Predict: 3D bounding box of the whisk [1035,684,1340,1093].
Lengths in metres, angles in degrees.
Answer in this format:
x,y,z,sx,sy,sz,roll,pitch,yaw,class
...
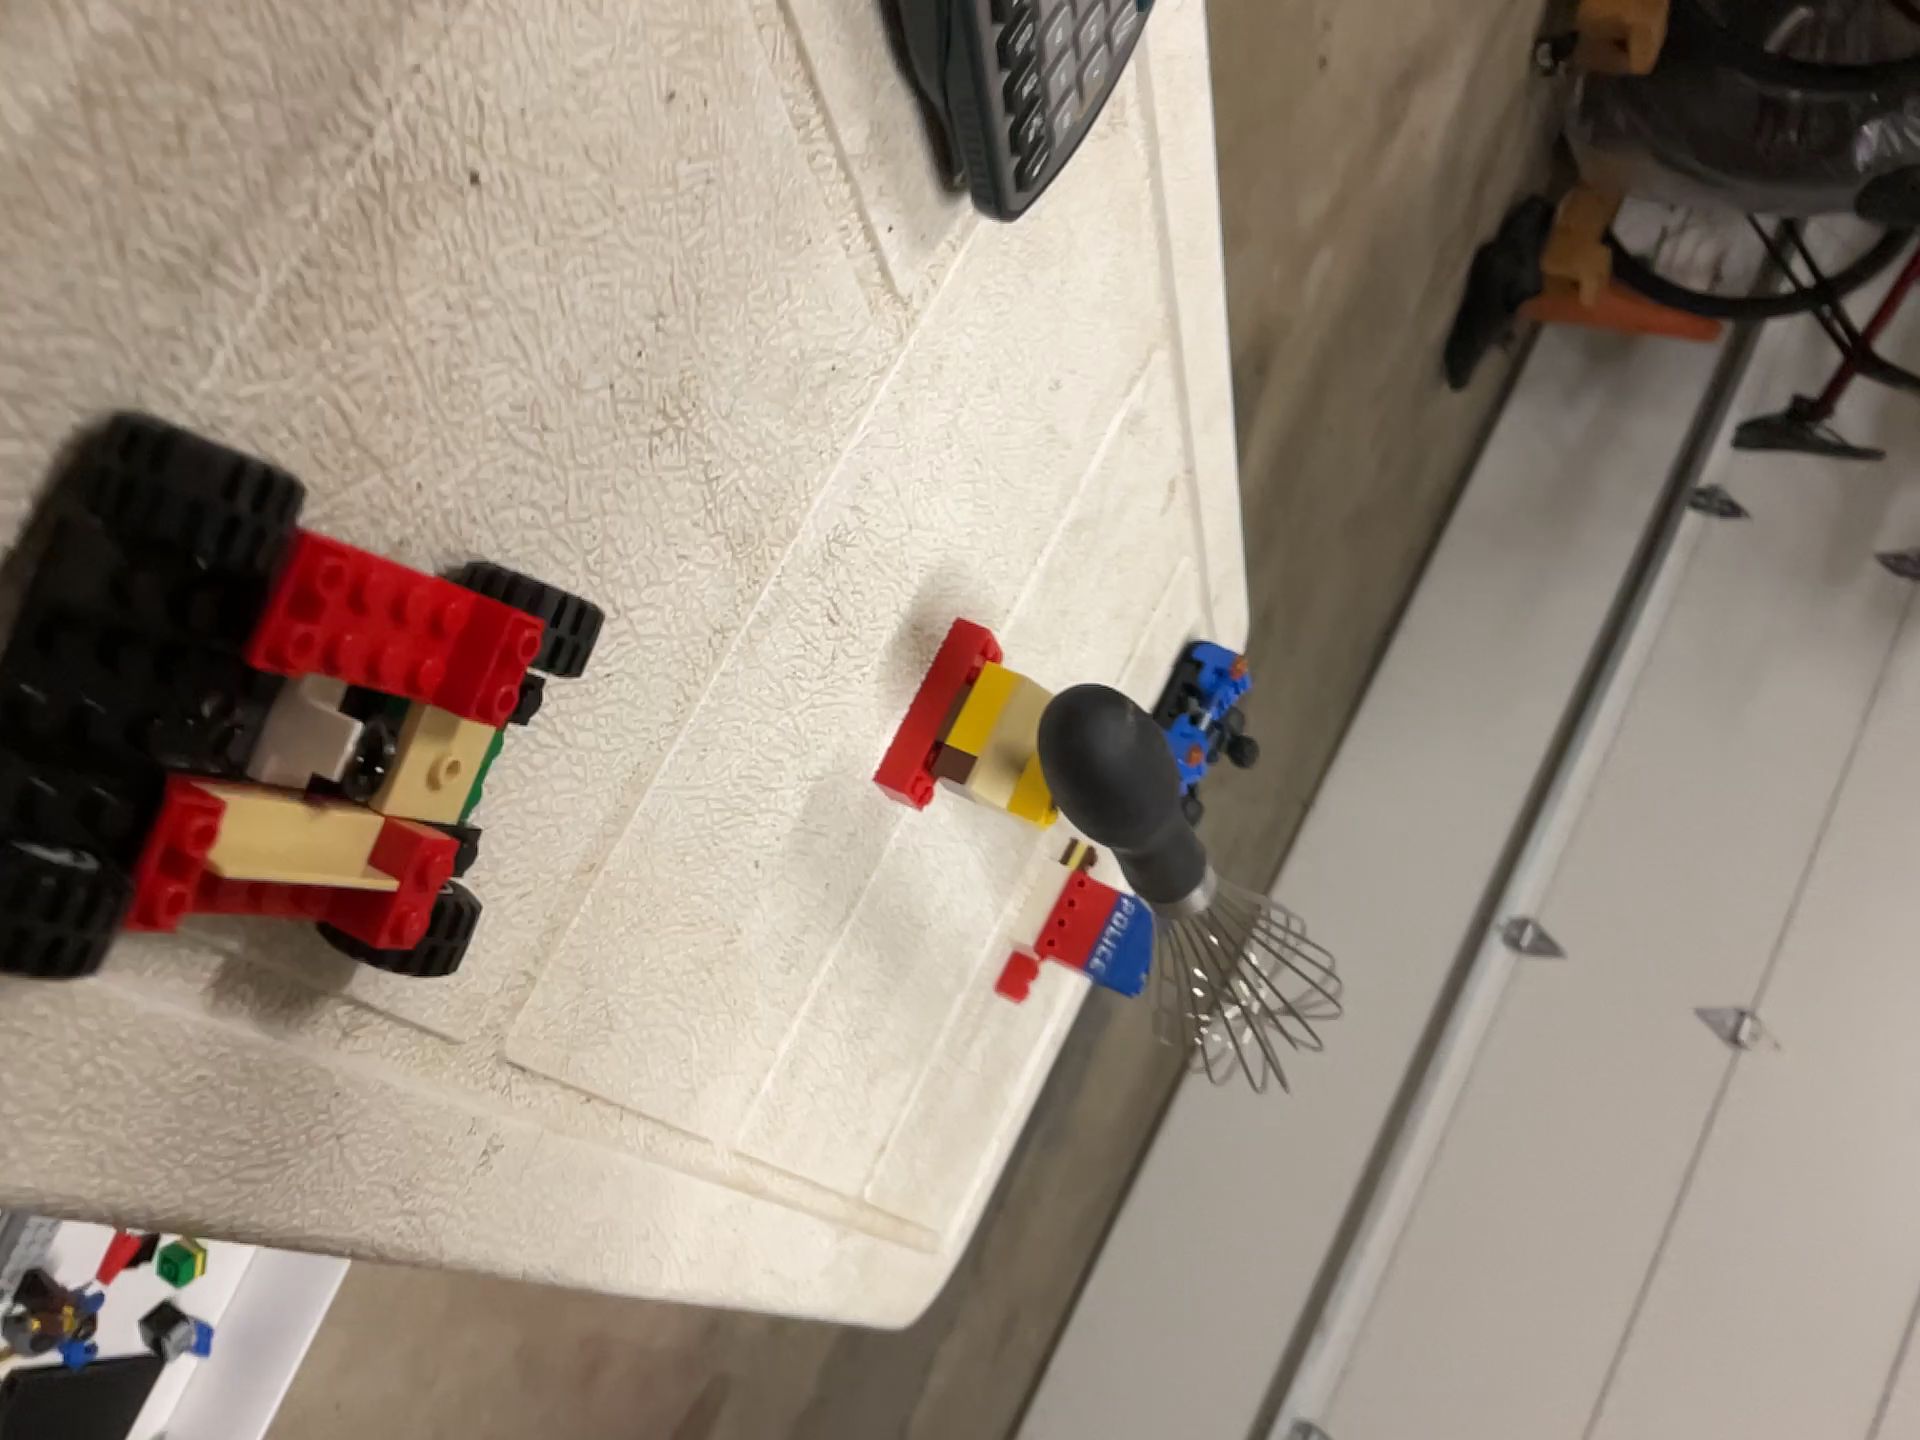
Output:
x,y,z,sx,sy,sz,roll,pitch,yaw,class
0.068,0.056,0.468,0.070,0.070,0.284,-58,153,-11,whisk
